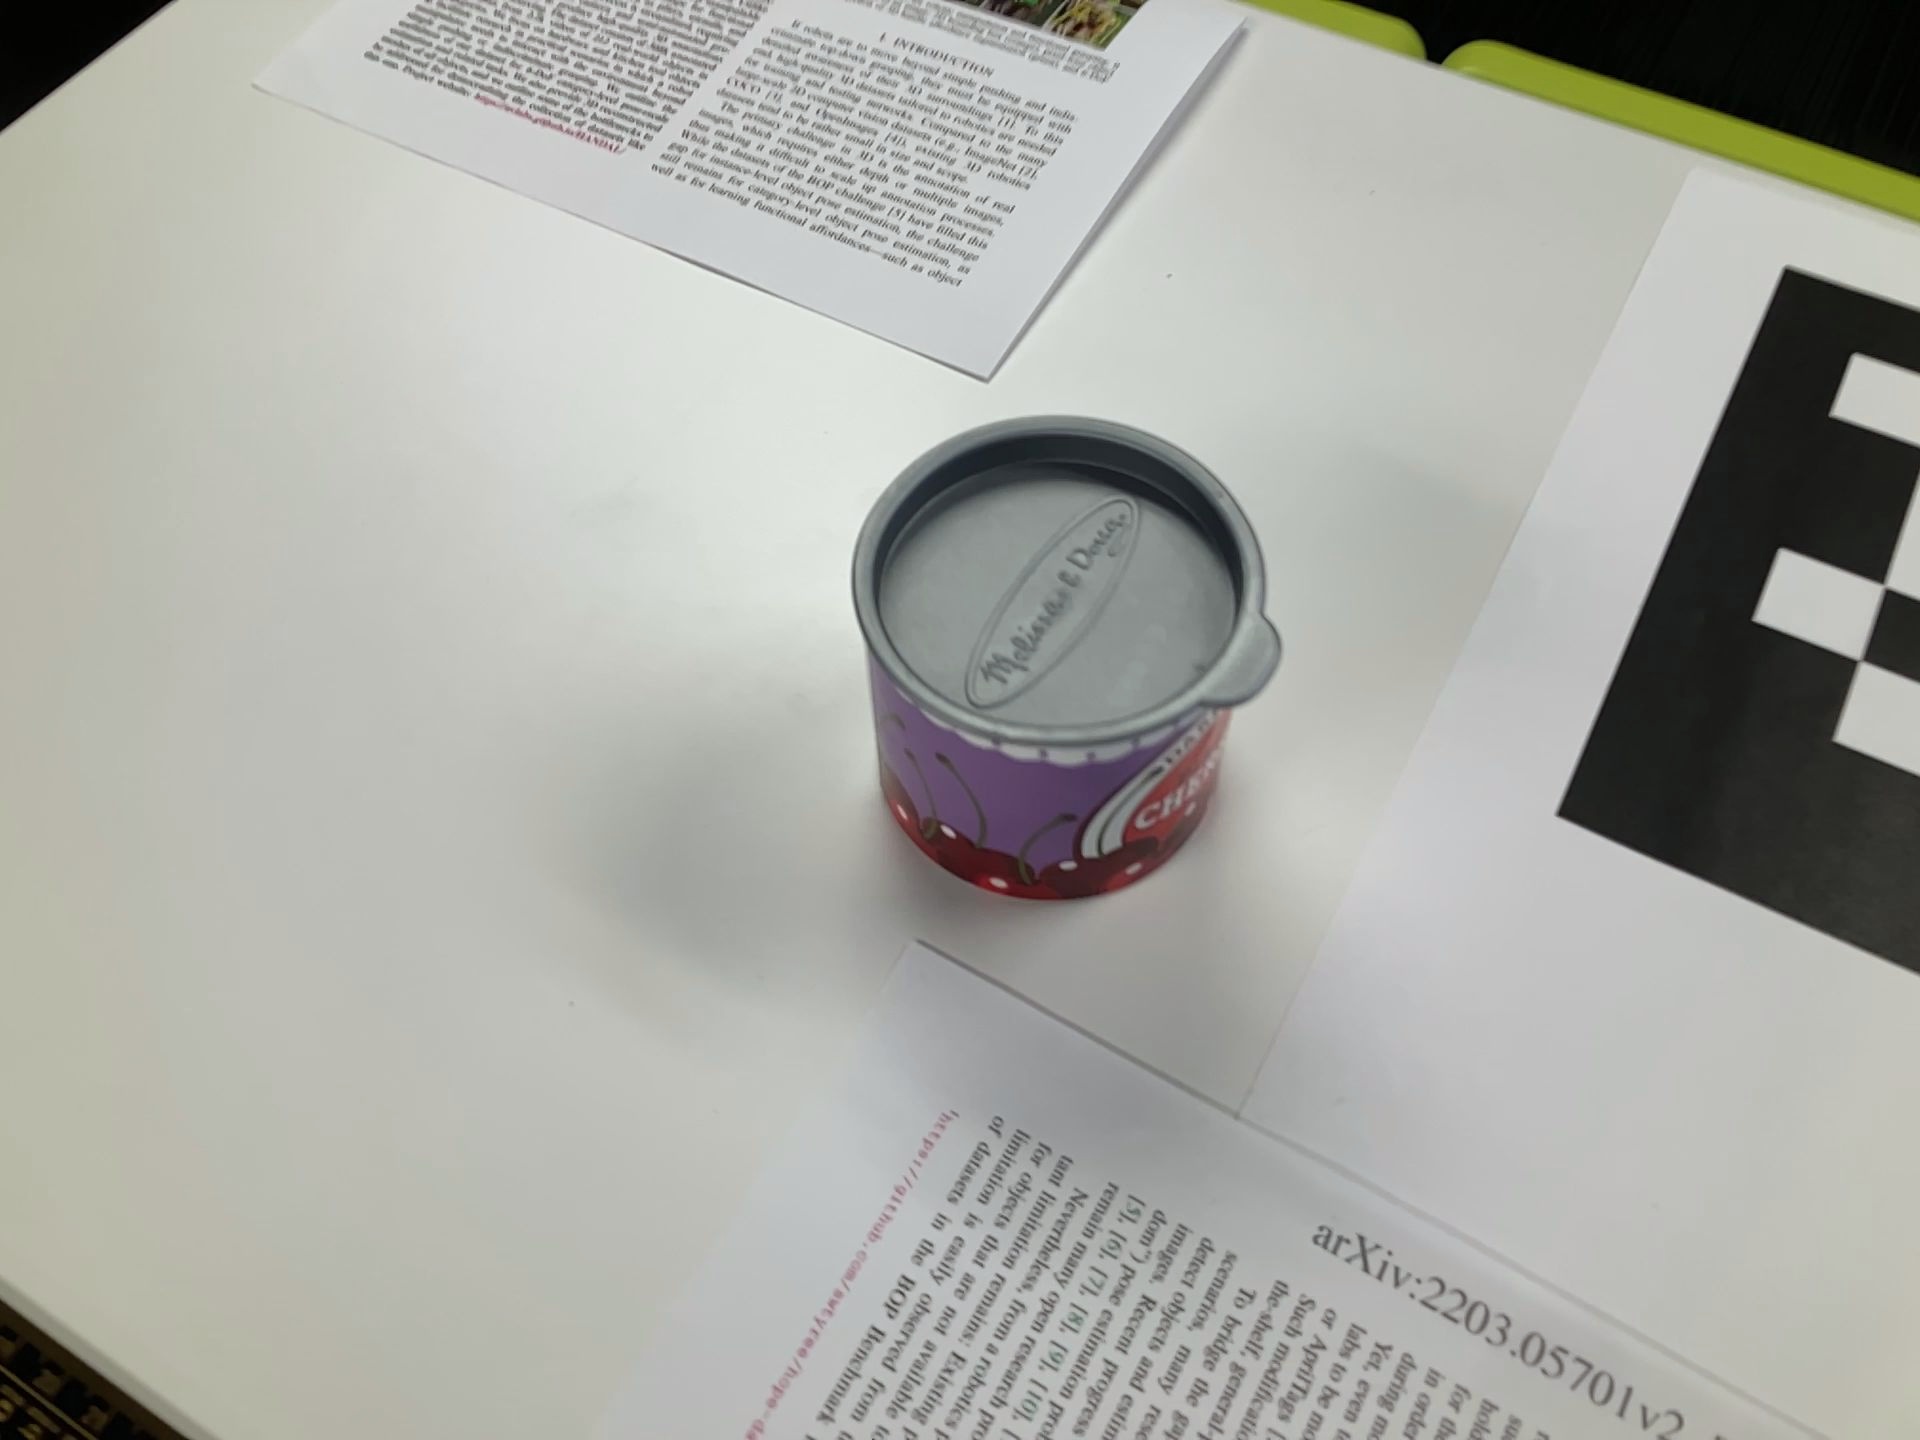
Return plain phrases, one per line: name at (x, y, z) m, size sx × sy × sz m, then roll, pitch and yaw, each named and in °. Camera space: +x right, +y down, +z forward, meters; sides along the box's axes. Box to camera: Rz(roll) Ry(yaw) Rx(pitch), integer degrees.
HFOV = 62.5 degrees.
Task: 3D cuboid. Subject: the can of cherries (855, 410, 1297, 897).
can of cherries at (0.019, -0.009, 0.276) m, size 0.071 × 0.058 × 0.071 m, roll -1°, pitch 58°, yaw 1°
